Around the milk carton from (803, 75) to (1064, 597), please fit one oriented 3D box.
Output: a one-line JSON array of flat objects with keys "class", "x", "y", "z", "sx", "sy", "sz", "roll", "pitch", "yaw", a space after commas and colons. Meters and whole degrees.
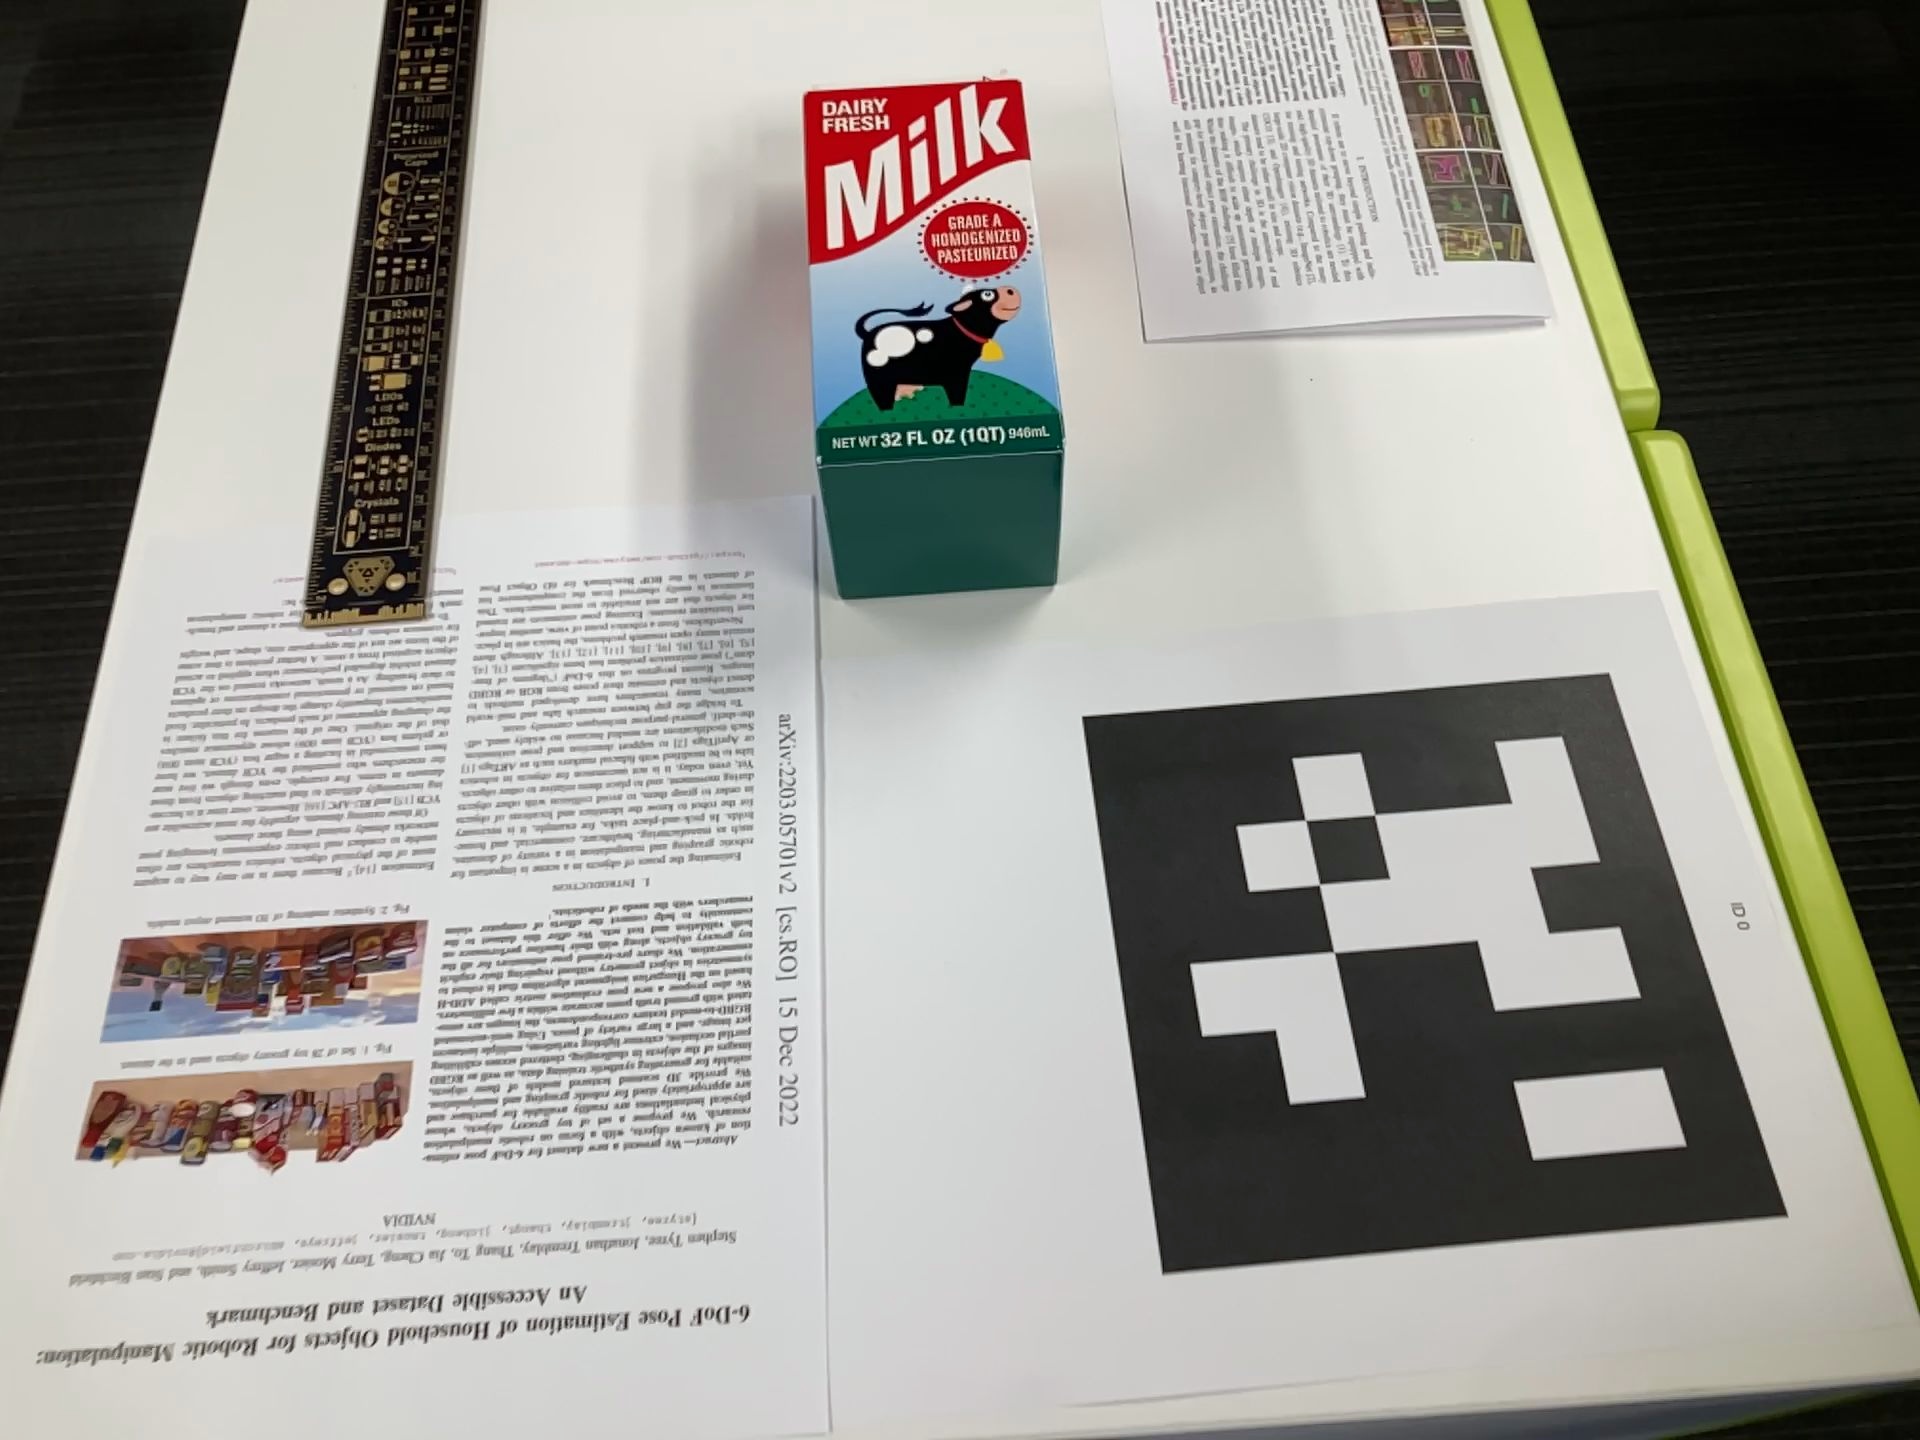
[{"class": "milk carton", "x": -0.011, "y": -0.140, "z": 0.511, "sx": 0.072, "sy": 0.073, "sz": 0.190, "roll": -5, "pitch": 61, "yaw": 0}]
